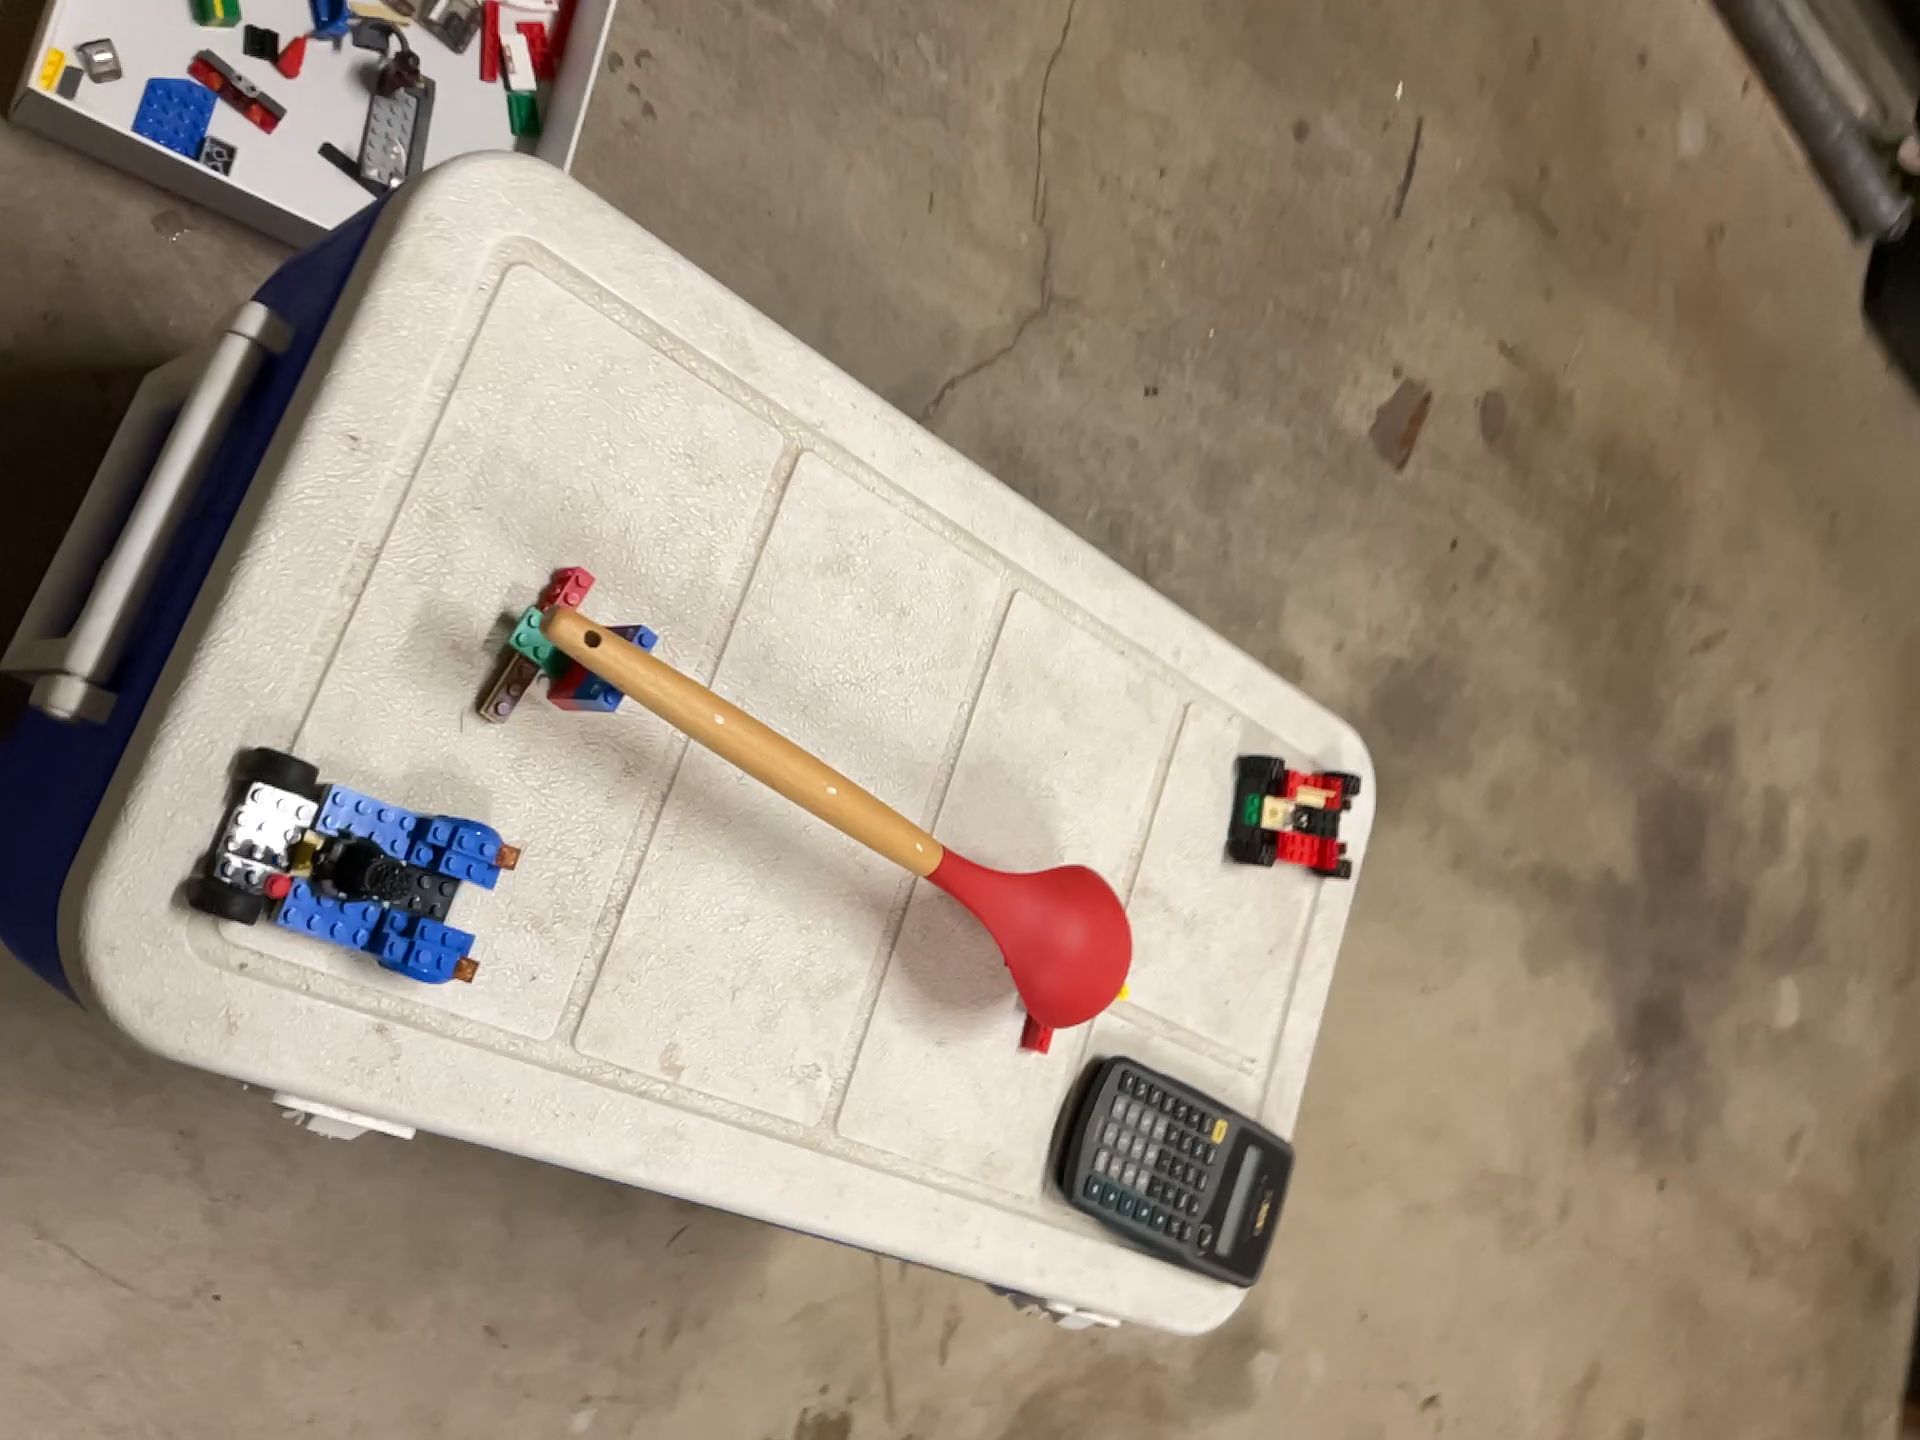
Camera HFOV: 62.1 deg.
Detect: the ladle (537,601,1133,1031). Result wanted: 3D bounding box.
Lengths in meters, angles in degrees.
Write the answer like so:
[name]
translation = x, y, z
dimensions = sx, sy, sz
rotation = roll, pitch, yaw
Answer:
[ladle]
translation = -0.030, 0.041, 0.610
dimensions = 0.315, 0.031, 0.069
rotation = 36, 69, -34
